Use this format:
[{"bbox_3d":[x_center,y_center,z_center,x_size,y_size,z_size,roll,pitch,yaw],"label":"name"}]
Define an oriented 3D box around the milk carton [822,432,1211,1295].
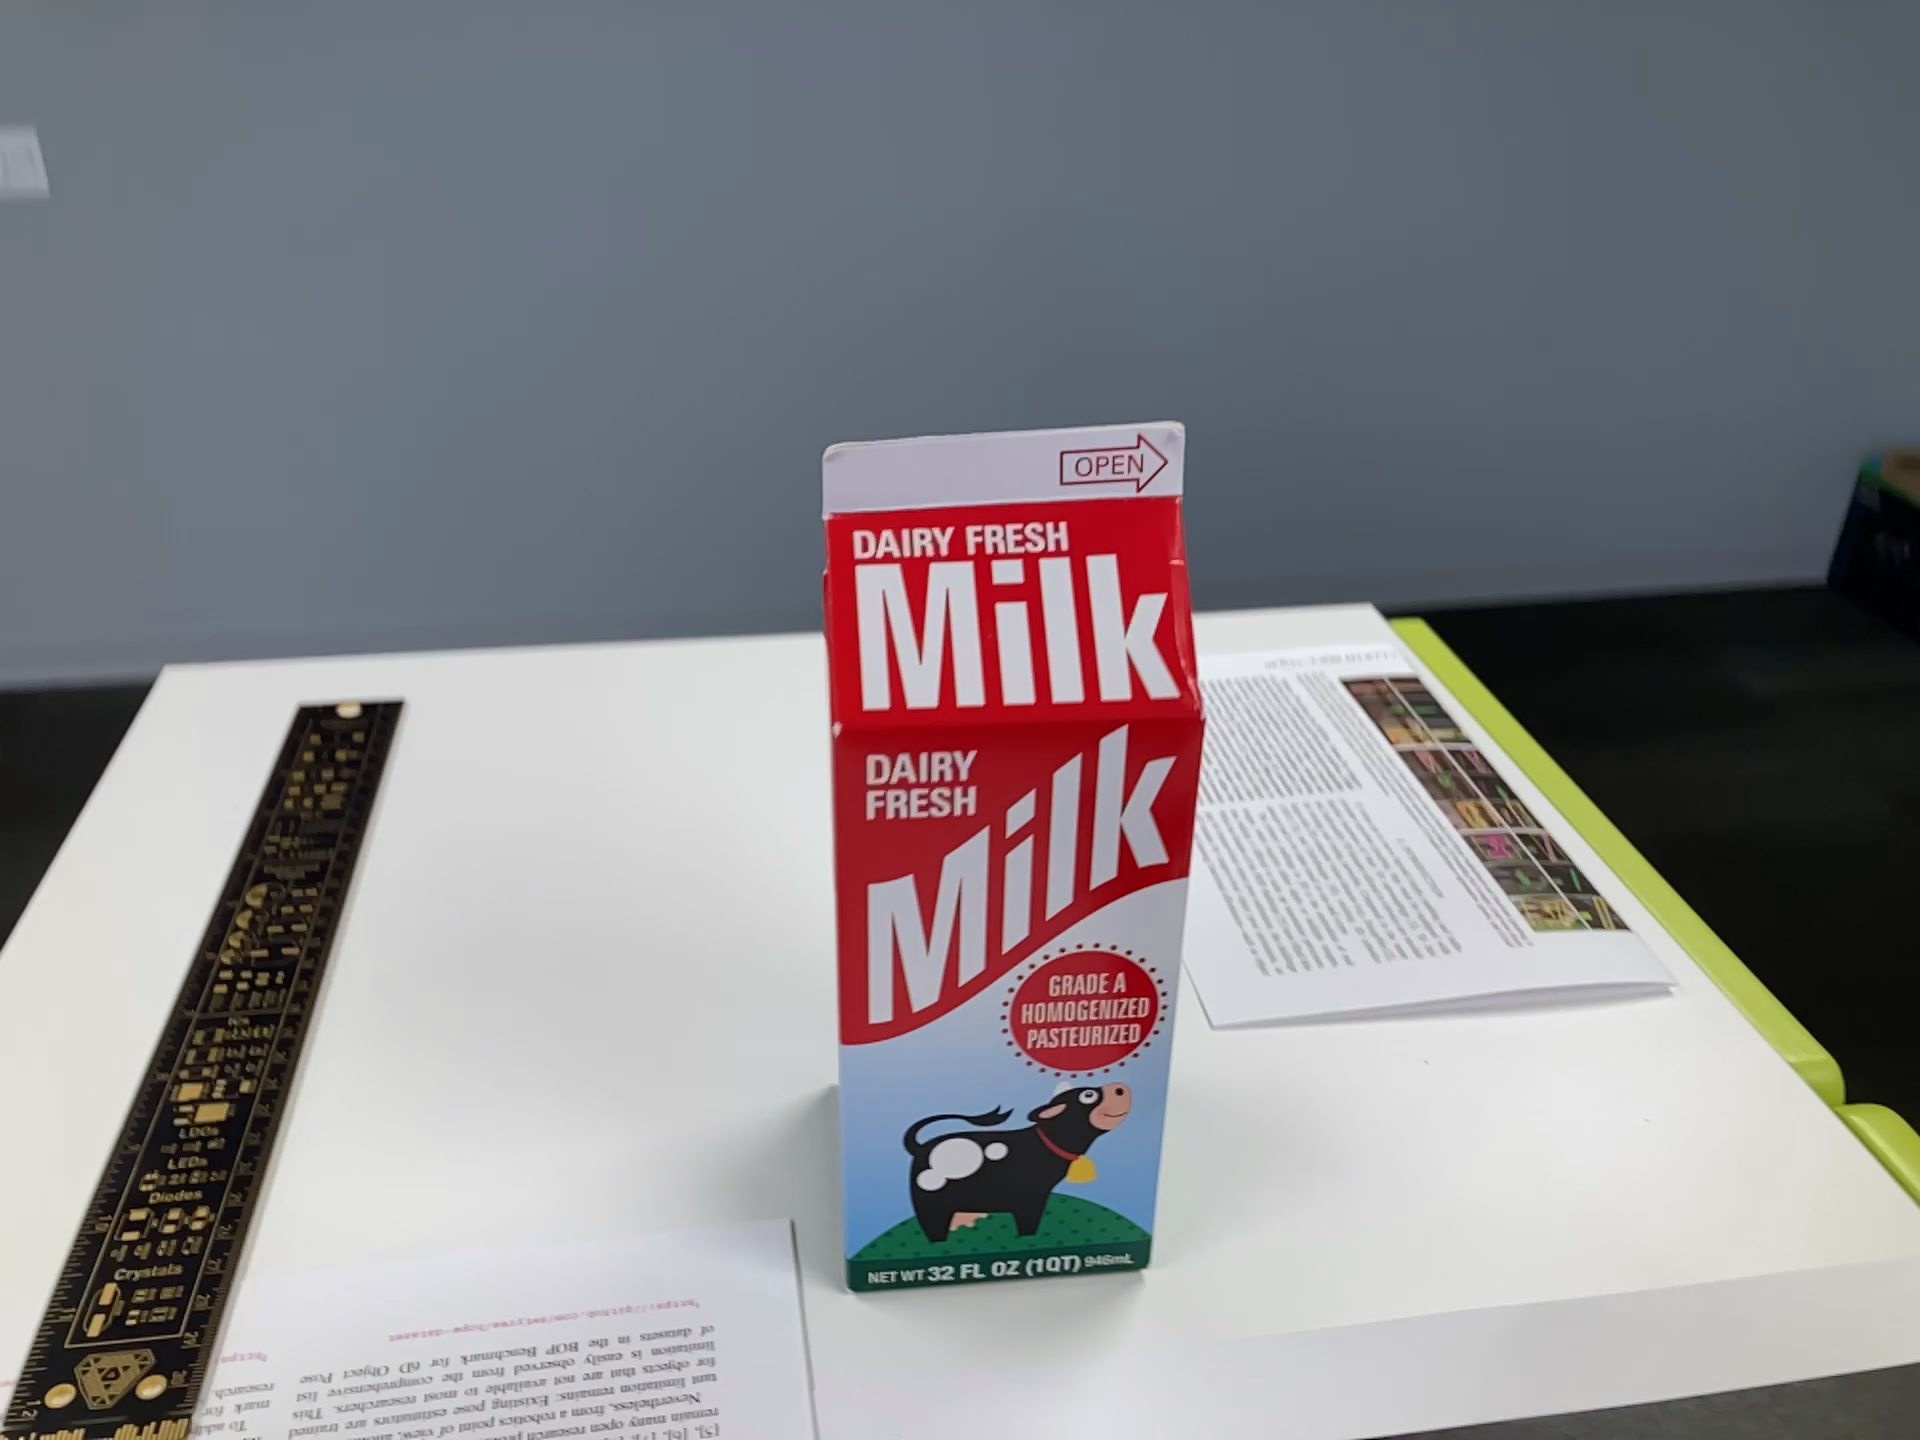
[{"bbox_3d":[0.007,0.029,0.345,0.072,0.190,0.073,-2,29,-5],"label":"milk carton"}]
